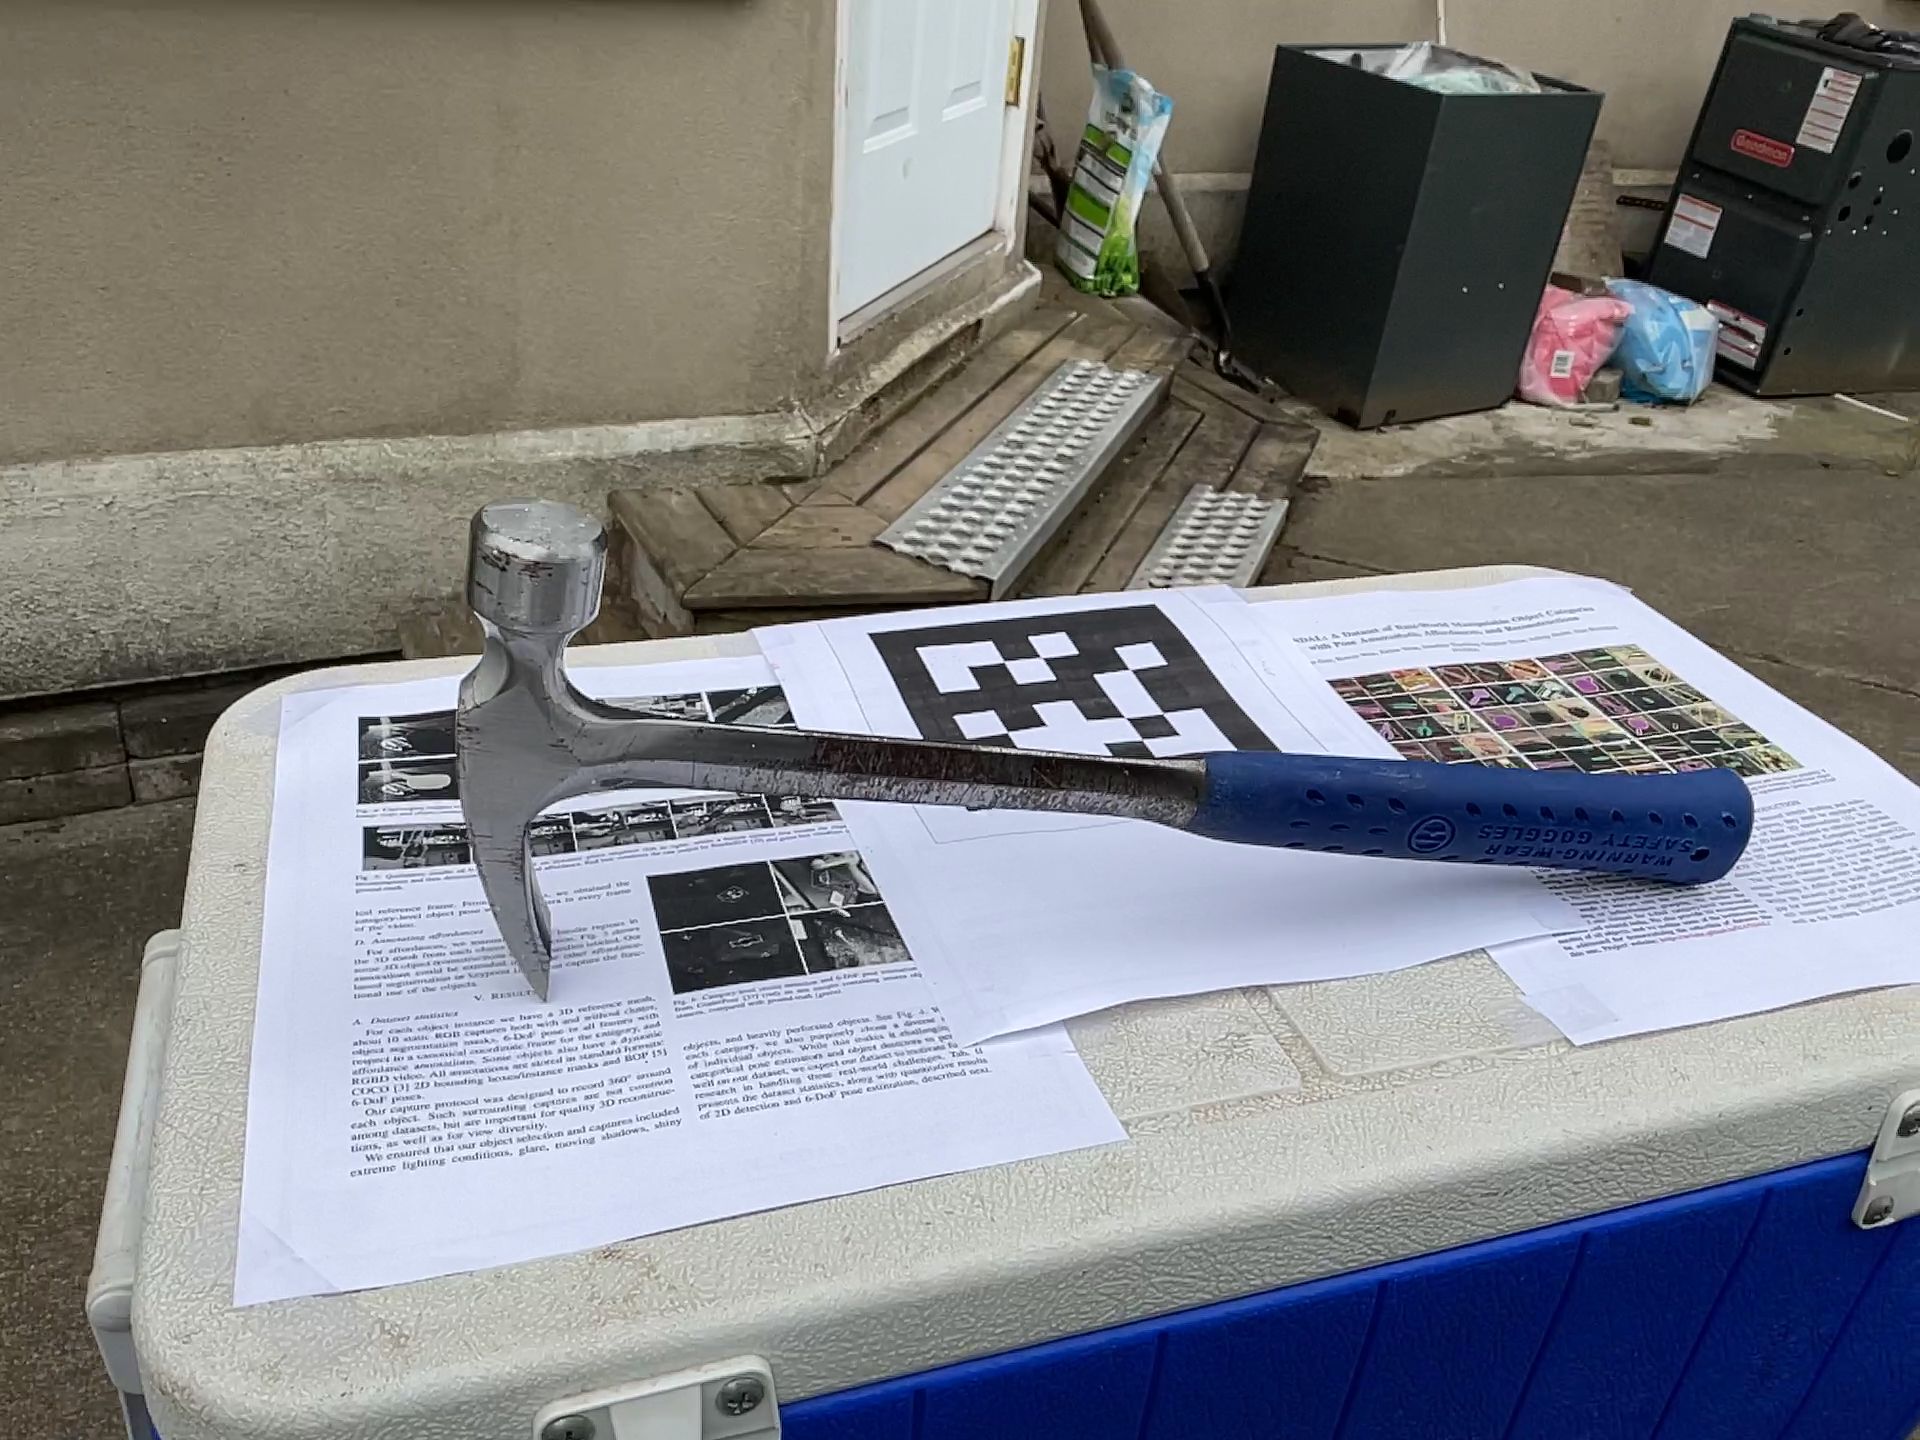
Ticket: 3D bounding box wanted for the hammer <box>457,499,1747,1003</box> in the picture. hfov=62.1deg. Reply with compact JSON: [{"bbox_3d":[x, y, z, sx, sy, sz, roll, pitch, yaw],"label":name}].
[{"bbox_3d":[0.057,0.026,0.486,0.405,0.144,0.035,5,30,-17],"label":"hammer"}]
